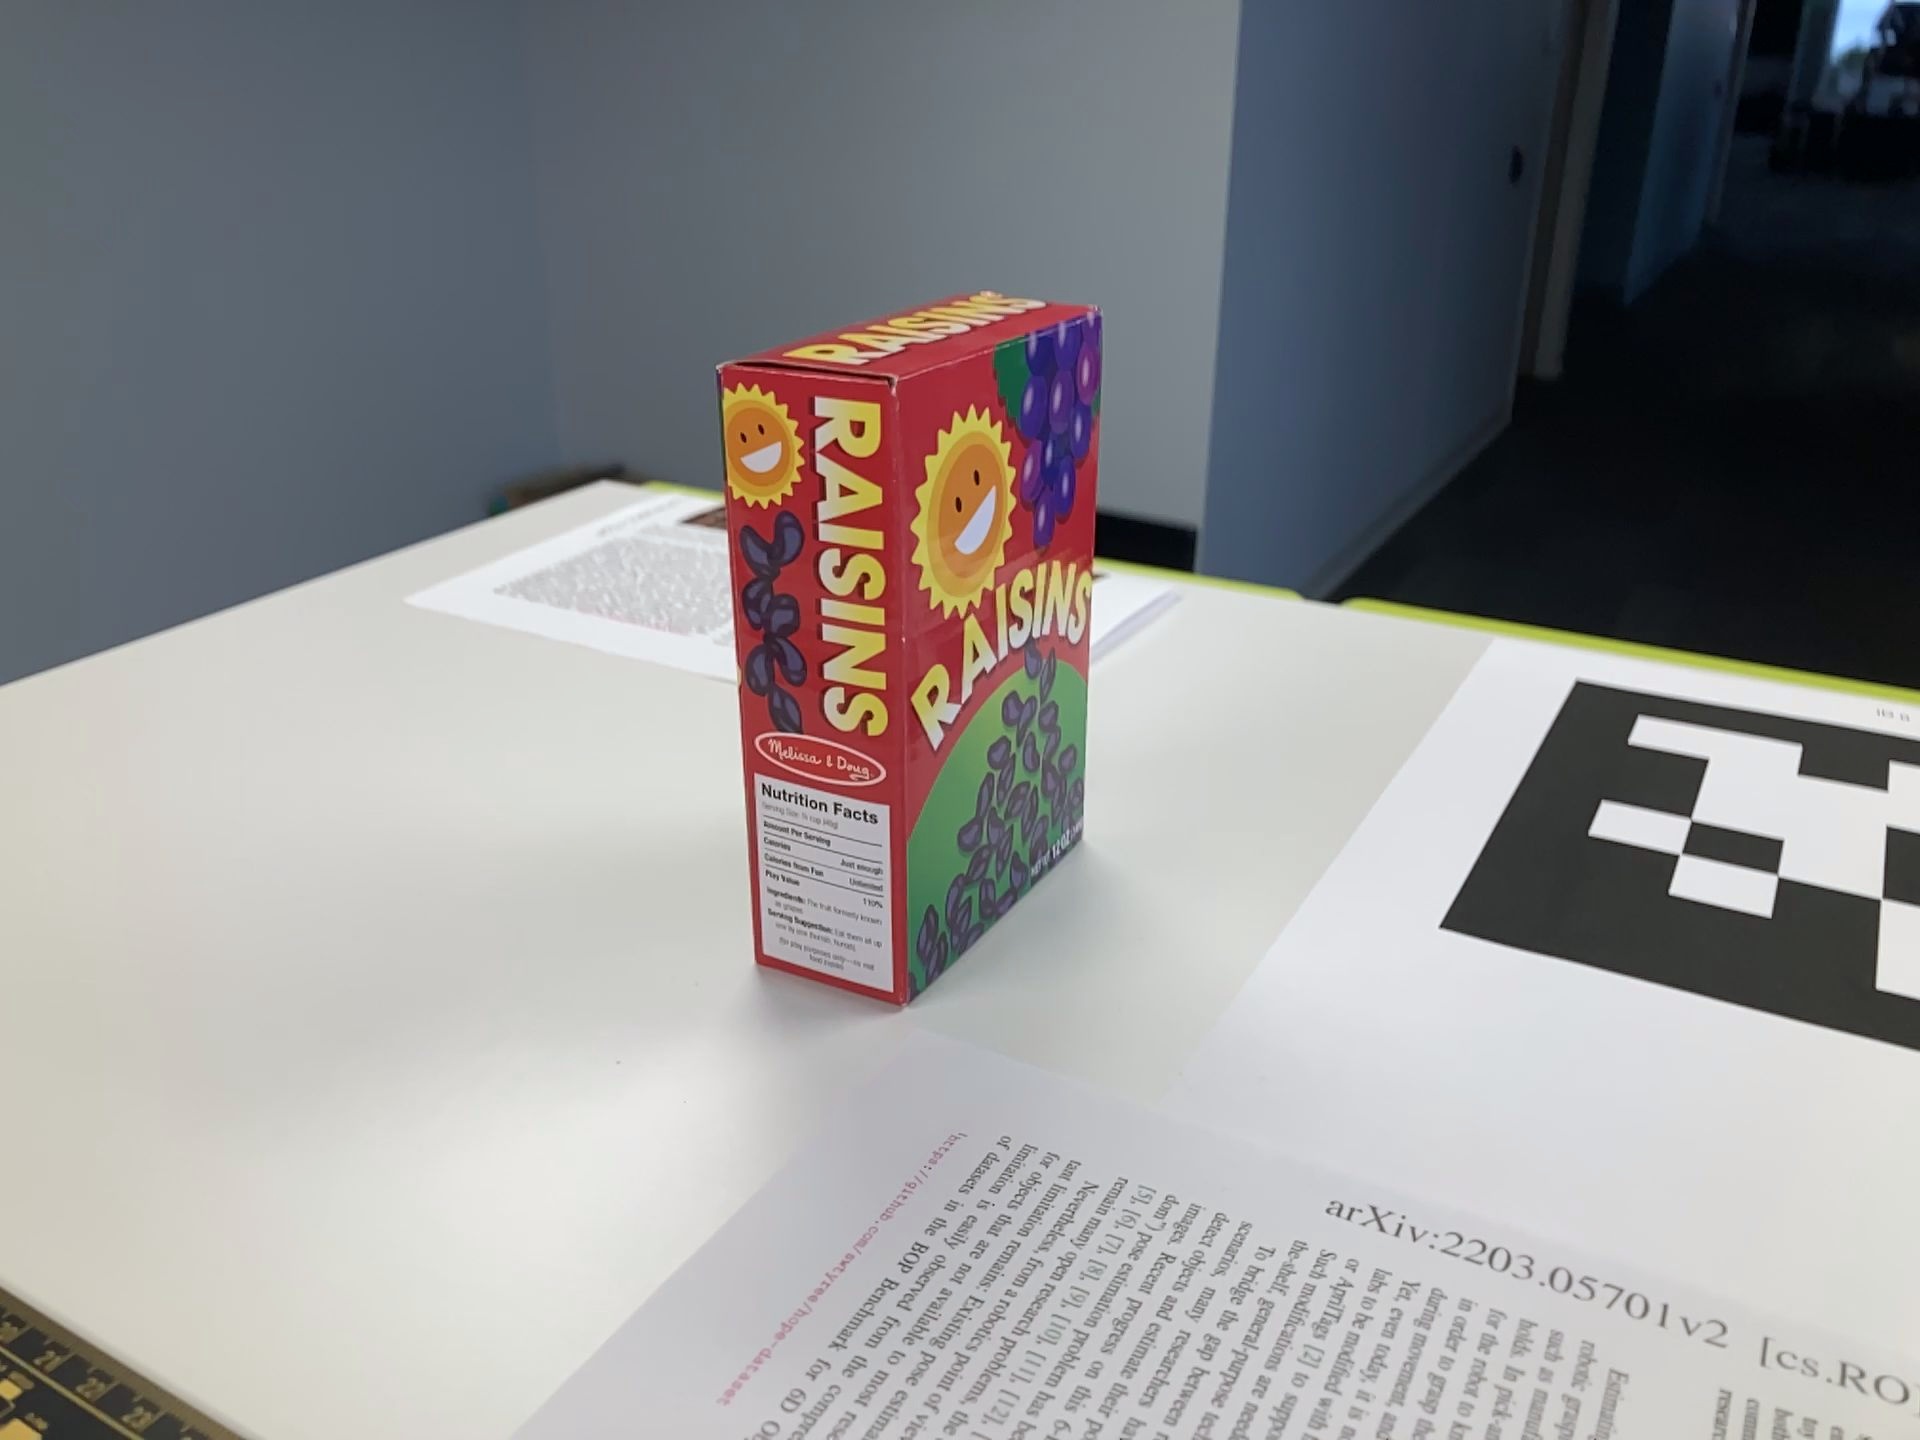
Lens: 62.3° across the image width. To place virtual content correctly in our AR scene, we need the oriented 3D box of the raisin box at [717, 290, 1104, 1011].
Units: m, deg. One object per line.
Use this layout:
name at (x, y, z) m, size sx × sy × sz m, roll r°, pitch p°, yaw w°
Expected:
raisin box at (-0.006, -0.018, 0.322) m, size 0.040 × 0.123 × 0.086 m, roll 13°, pitch 26°, yaw 27°
